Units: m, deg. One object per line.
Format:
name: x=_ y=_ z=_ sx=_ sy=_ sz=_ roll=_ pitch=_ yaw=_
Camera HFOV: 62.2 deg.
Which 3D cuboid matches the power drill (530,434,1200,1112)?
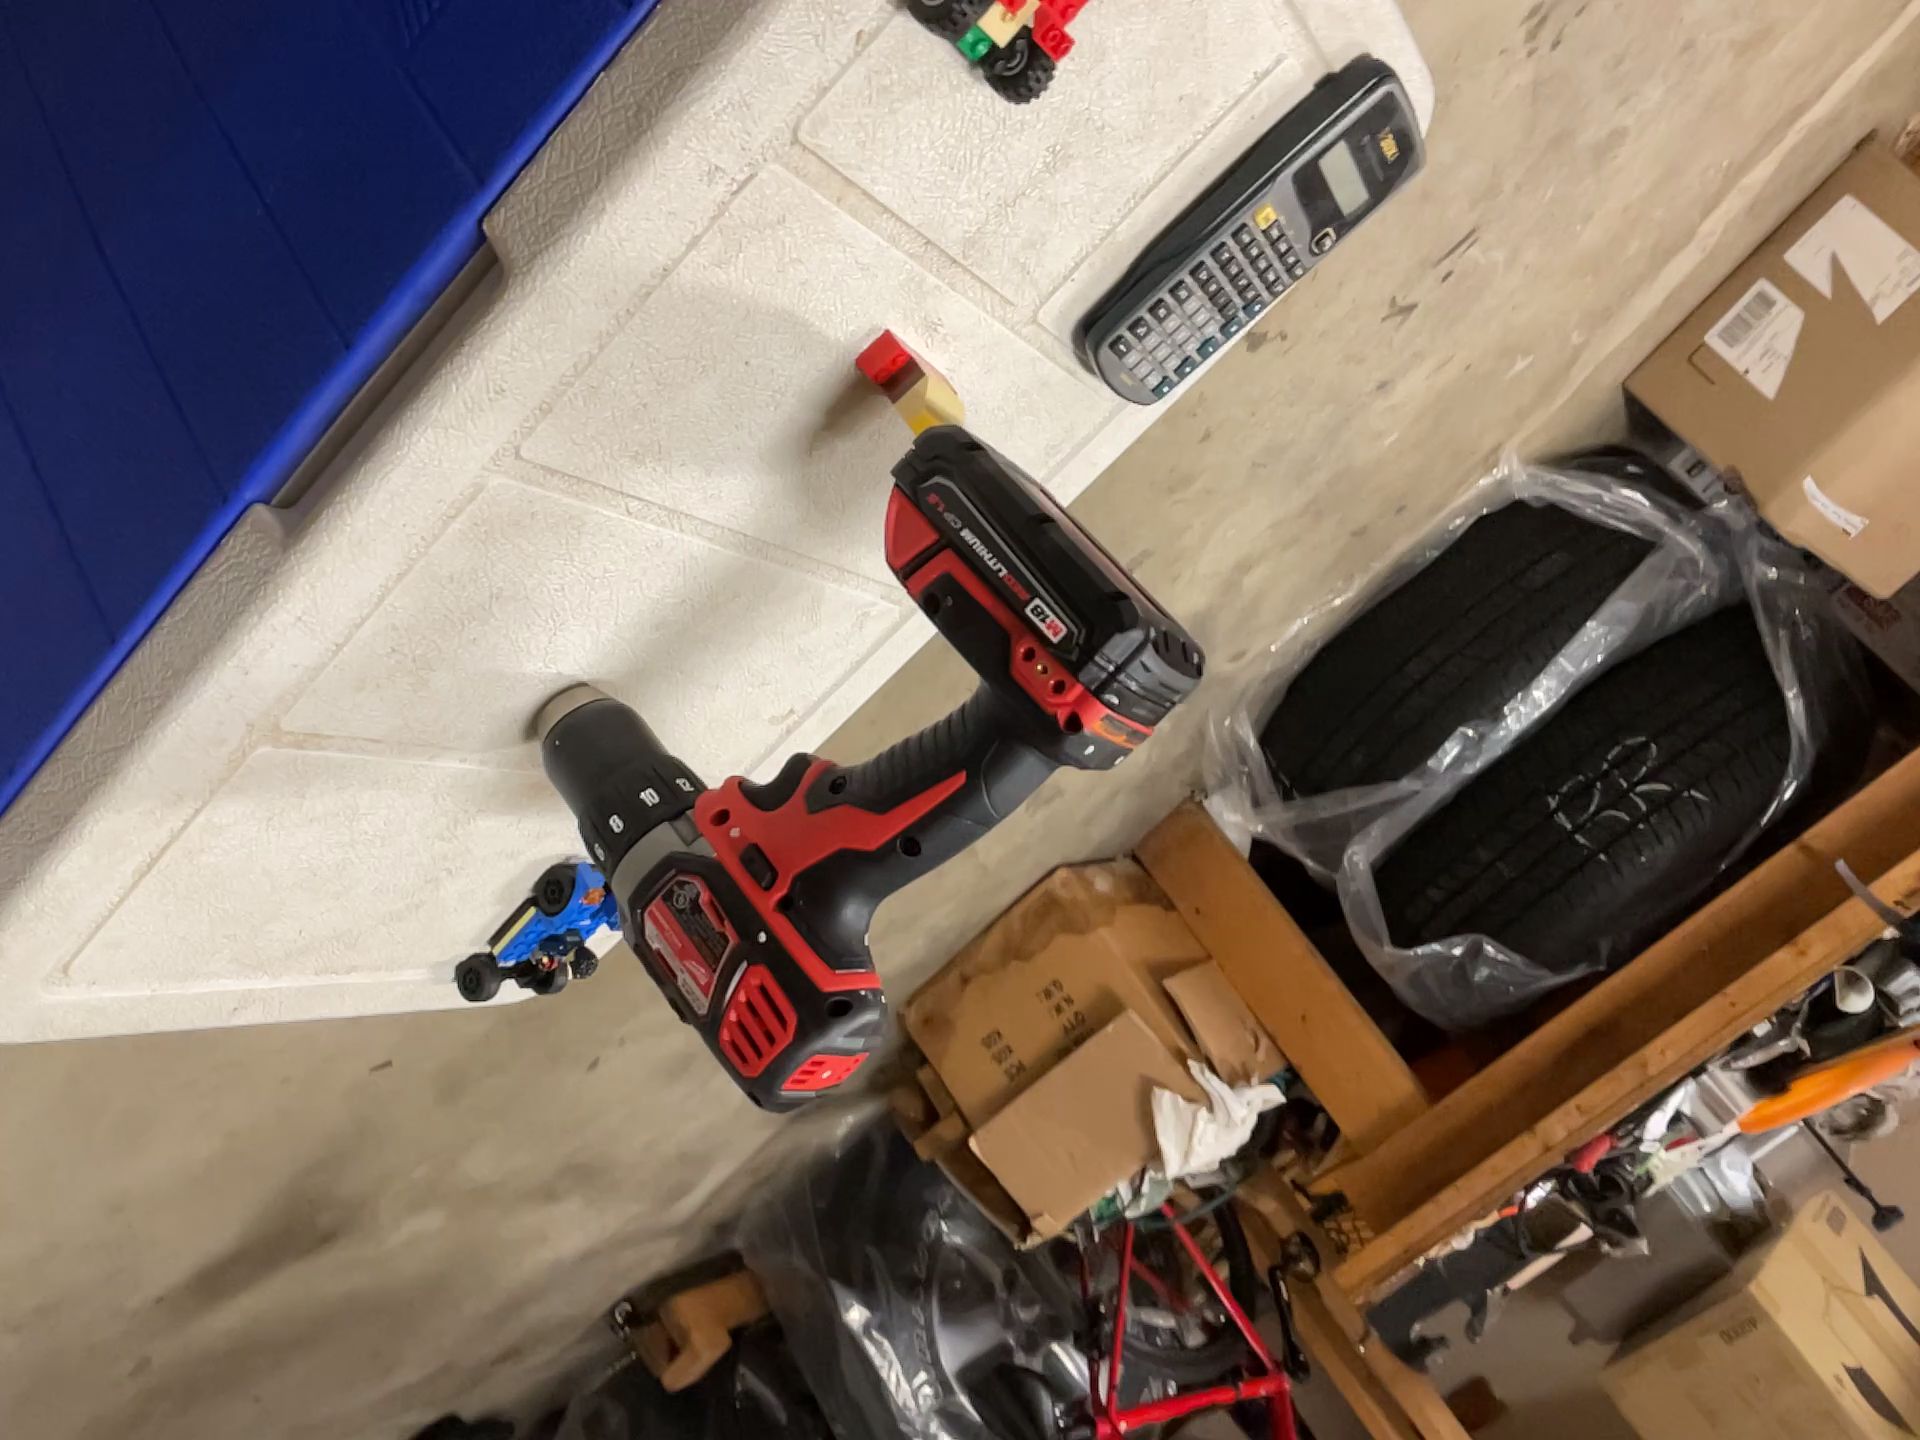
power drill: x=-0.048 y=0.004 z=0.584 sx=0.226 sy=0.188 sz=0.080 roll=-46 pitch=157 yaw=11
